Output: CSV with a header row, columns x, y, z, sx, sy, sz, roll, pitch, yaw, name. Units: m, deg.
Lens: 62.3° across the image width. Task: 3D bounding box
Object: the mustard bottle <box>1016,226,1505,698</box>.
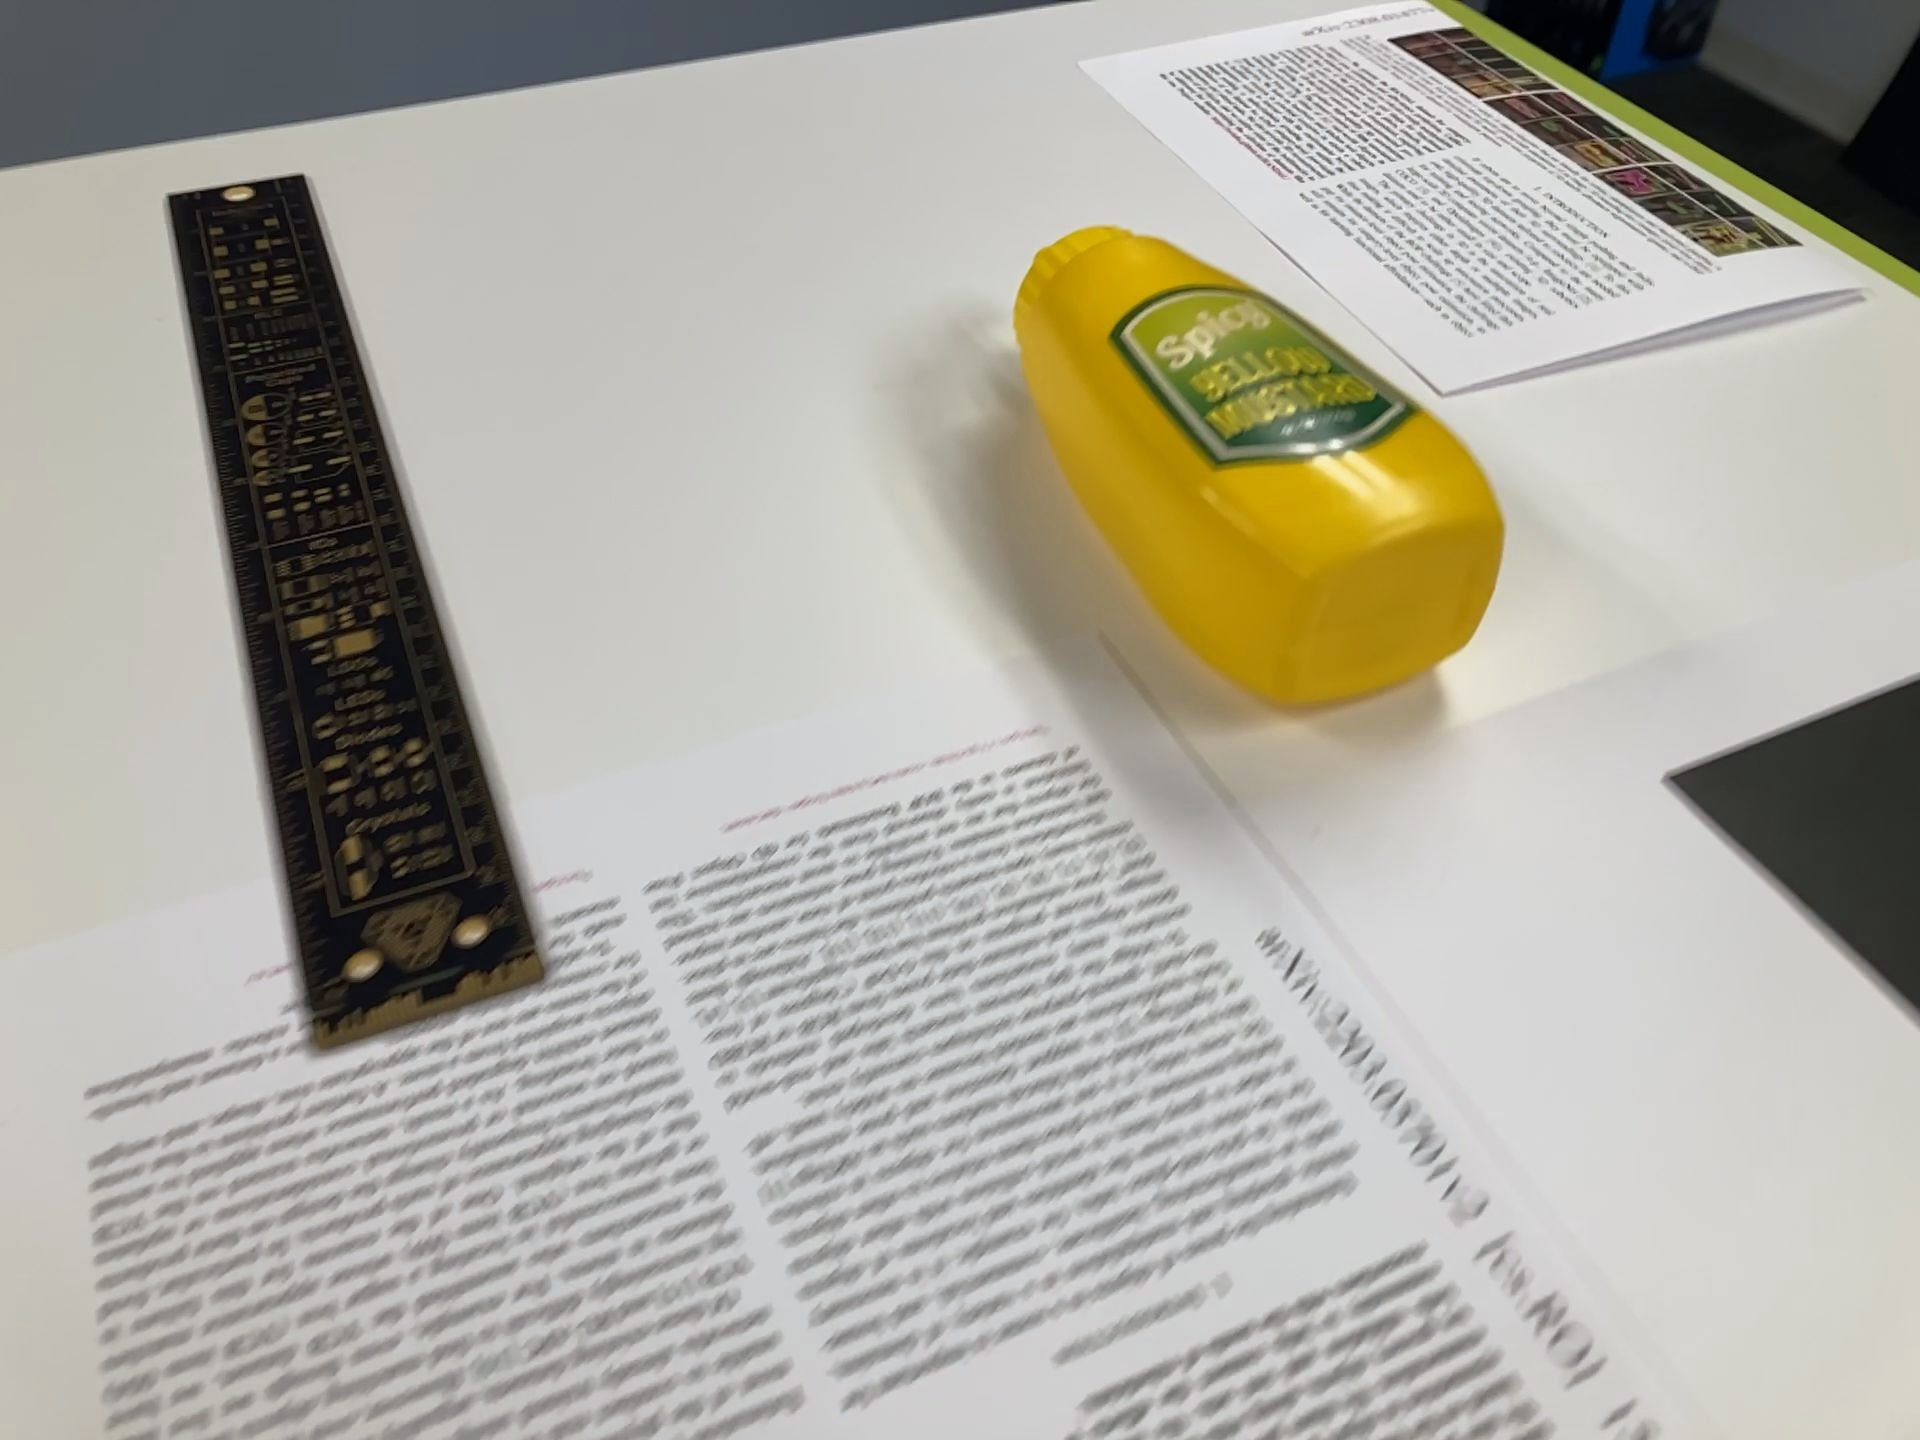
x,y,z,sx,sy,sz,roll,pitch,yaw,name
0.050,-0.071,0.354,0.065,0.049,0.160,-17,47,-19,mustard bottle
